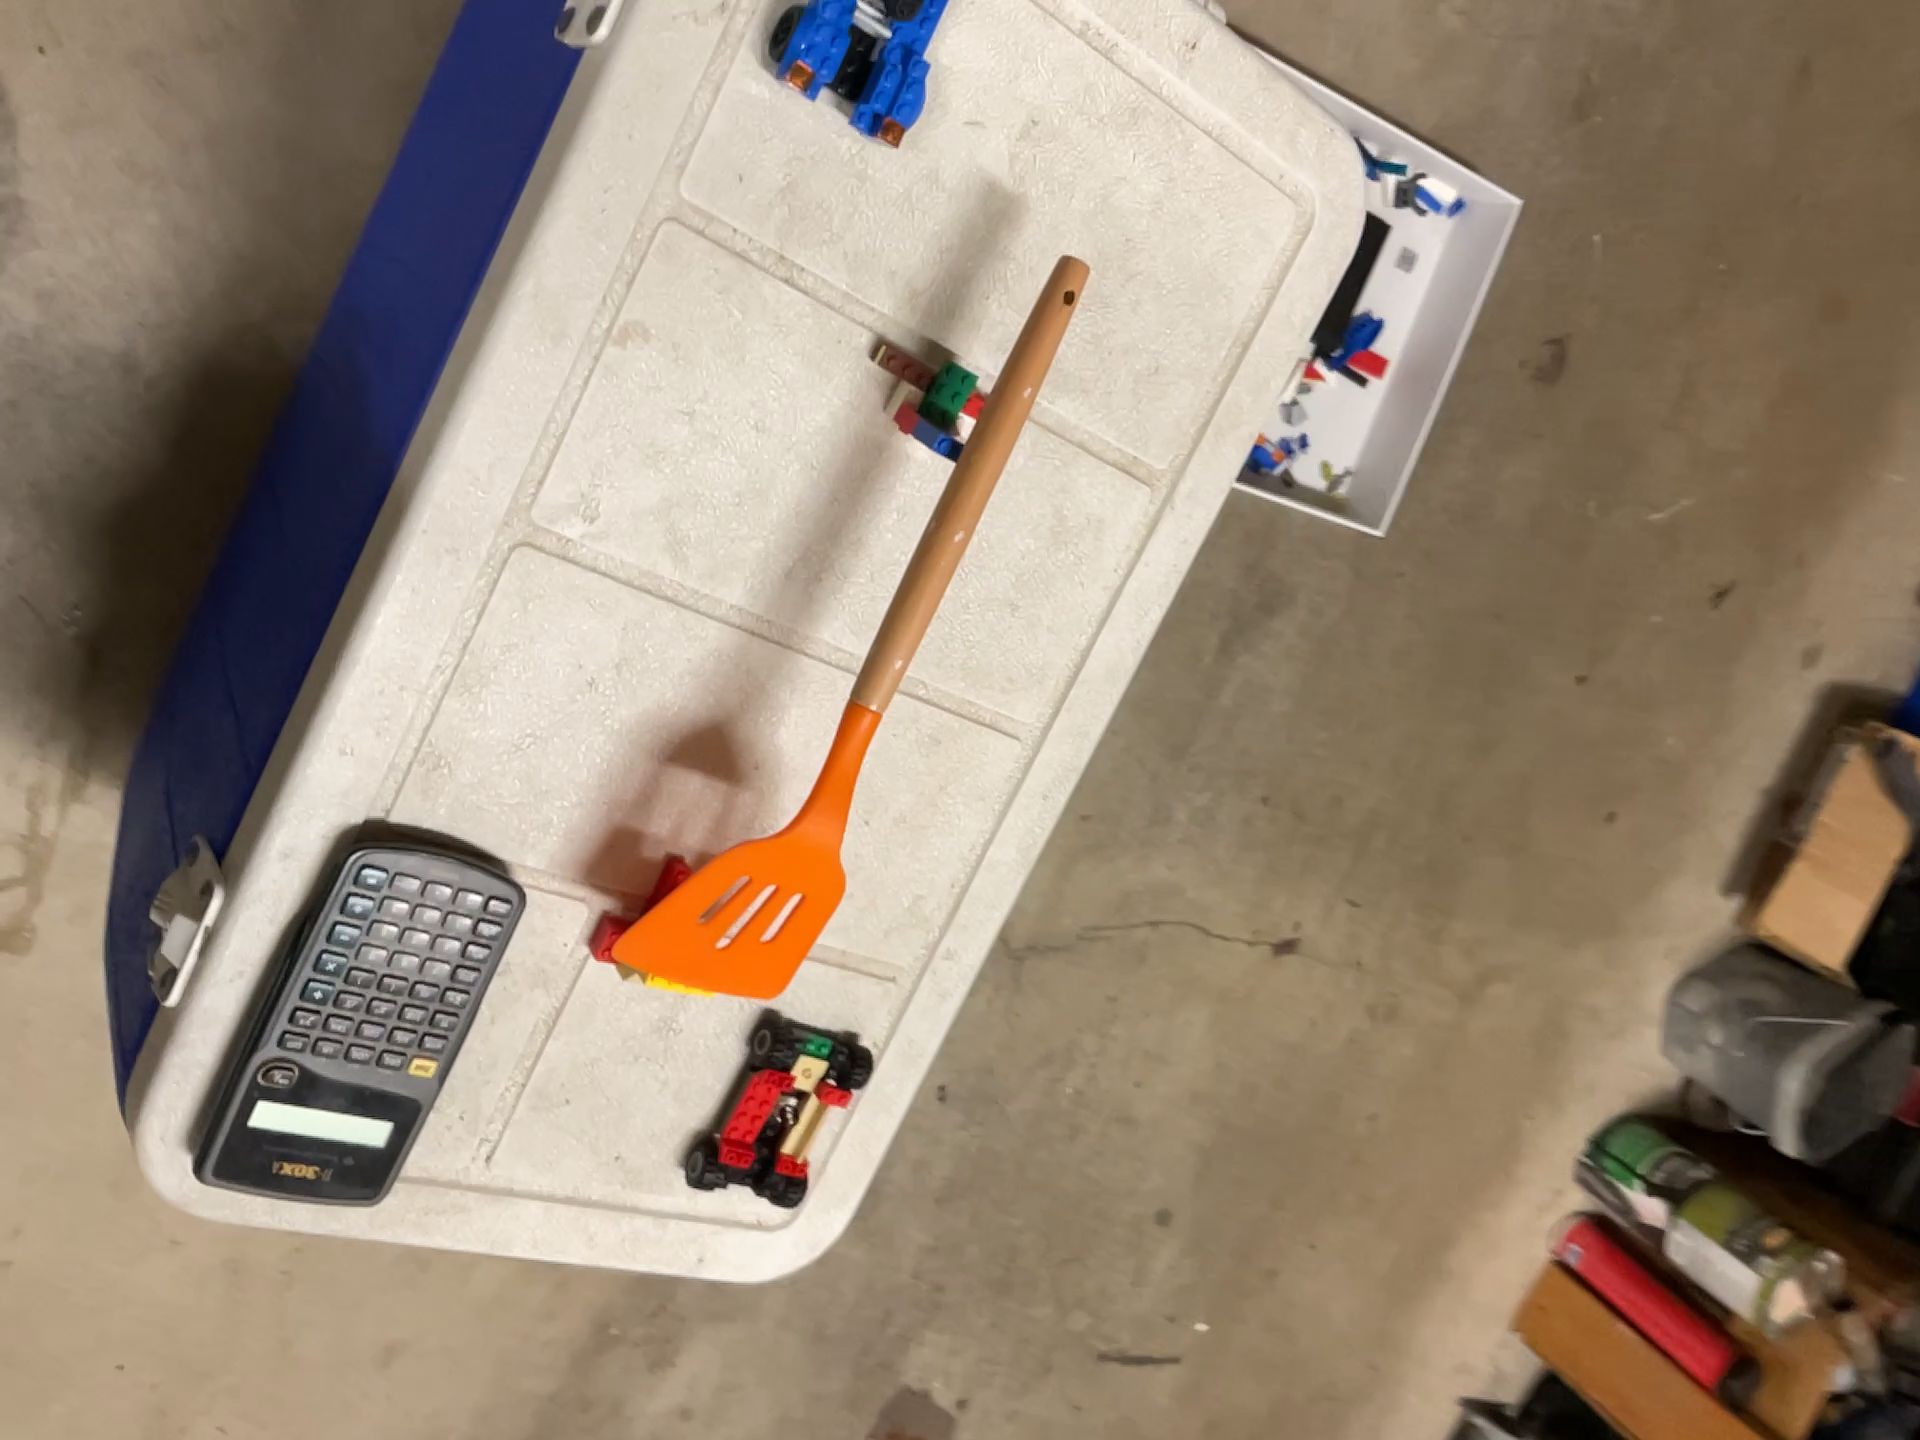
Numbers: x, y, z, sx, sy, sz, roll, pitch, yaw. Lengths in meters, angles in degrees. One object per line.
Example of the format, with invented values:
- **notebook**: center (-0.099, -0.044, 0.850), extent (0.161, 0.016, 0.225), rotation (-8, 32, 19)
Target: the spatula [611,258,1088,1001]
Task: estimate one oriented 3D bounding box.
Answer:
- **spatula**: center (-0.032, -0.030, 0.622), extent (0.081, 0.041, 0.322), rotation (23, 95, -35)
